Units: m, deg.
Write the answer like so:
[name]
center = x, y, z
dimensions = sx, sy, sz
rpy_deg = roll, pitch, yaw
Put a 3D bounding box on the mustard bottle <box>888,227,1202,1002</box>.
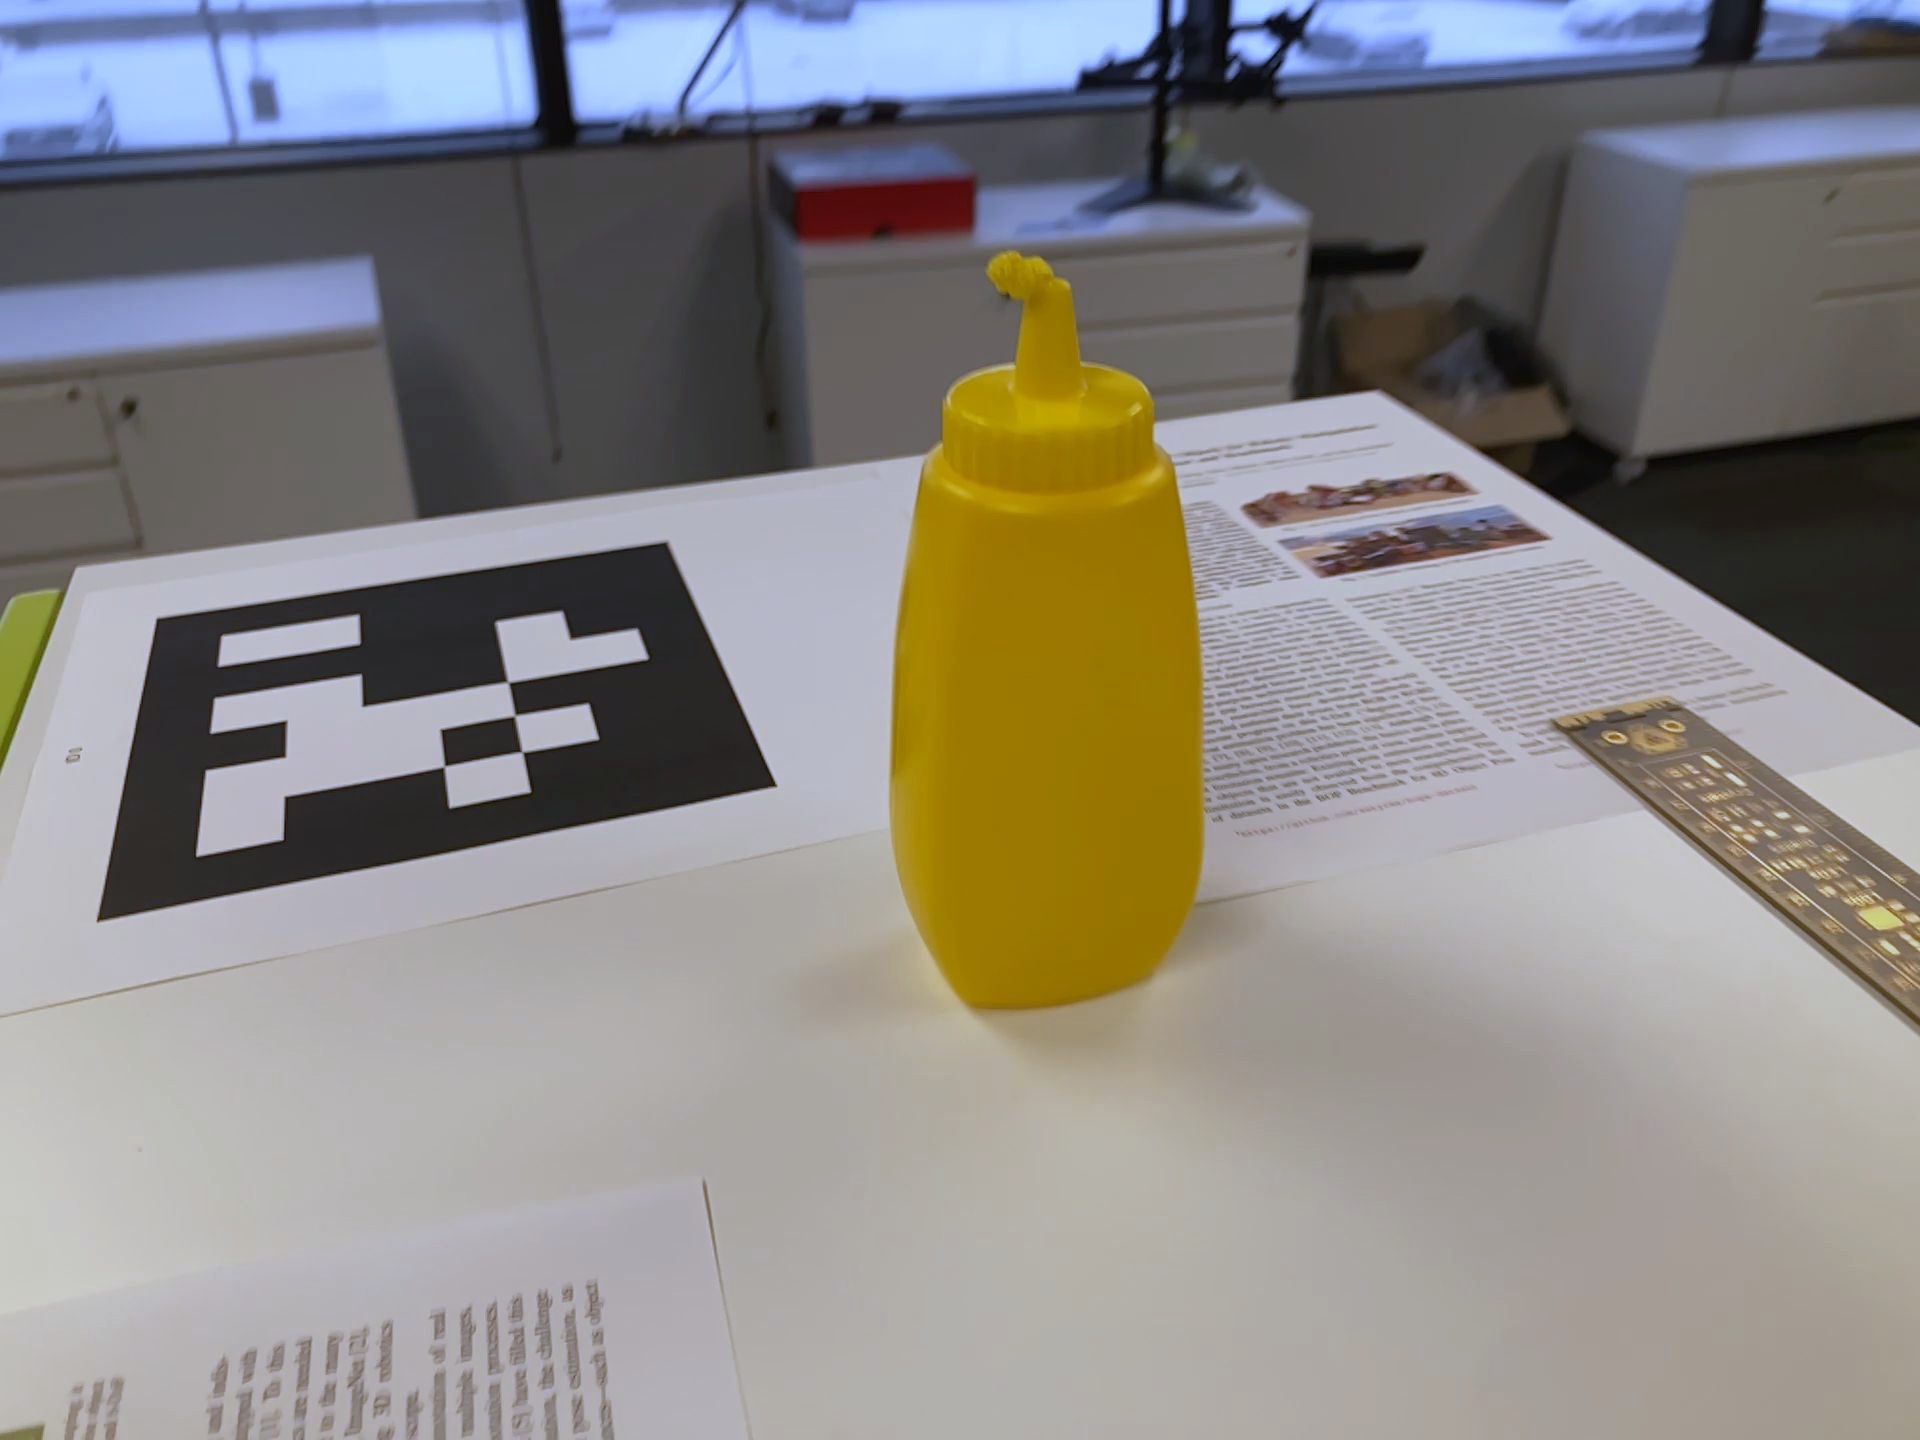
[mustard bottle]
center = 0.017, -0.018, 0.320
dimensions = 0.065, 0.160, 0.049
rpy_deg = -7, 30, -12
